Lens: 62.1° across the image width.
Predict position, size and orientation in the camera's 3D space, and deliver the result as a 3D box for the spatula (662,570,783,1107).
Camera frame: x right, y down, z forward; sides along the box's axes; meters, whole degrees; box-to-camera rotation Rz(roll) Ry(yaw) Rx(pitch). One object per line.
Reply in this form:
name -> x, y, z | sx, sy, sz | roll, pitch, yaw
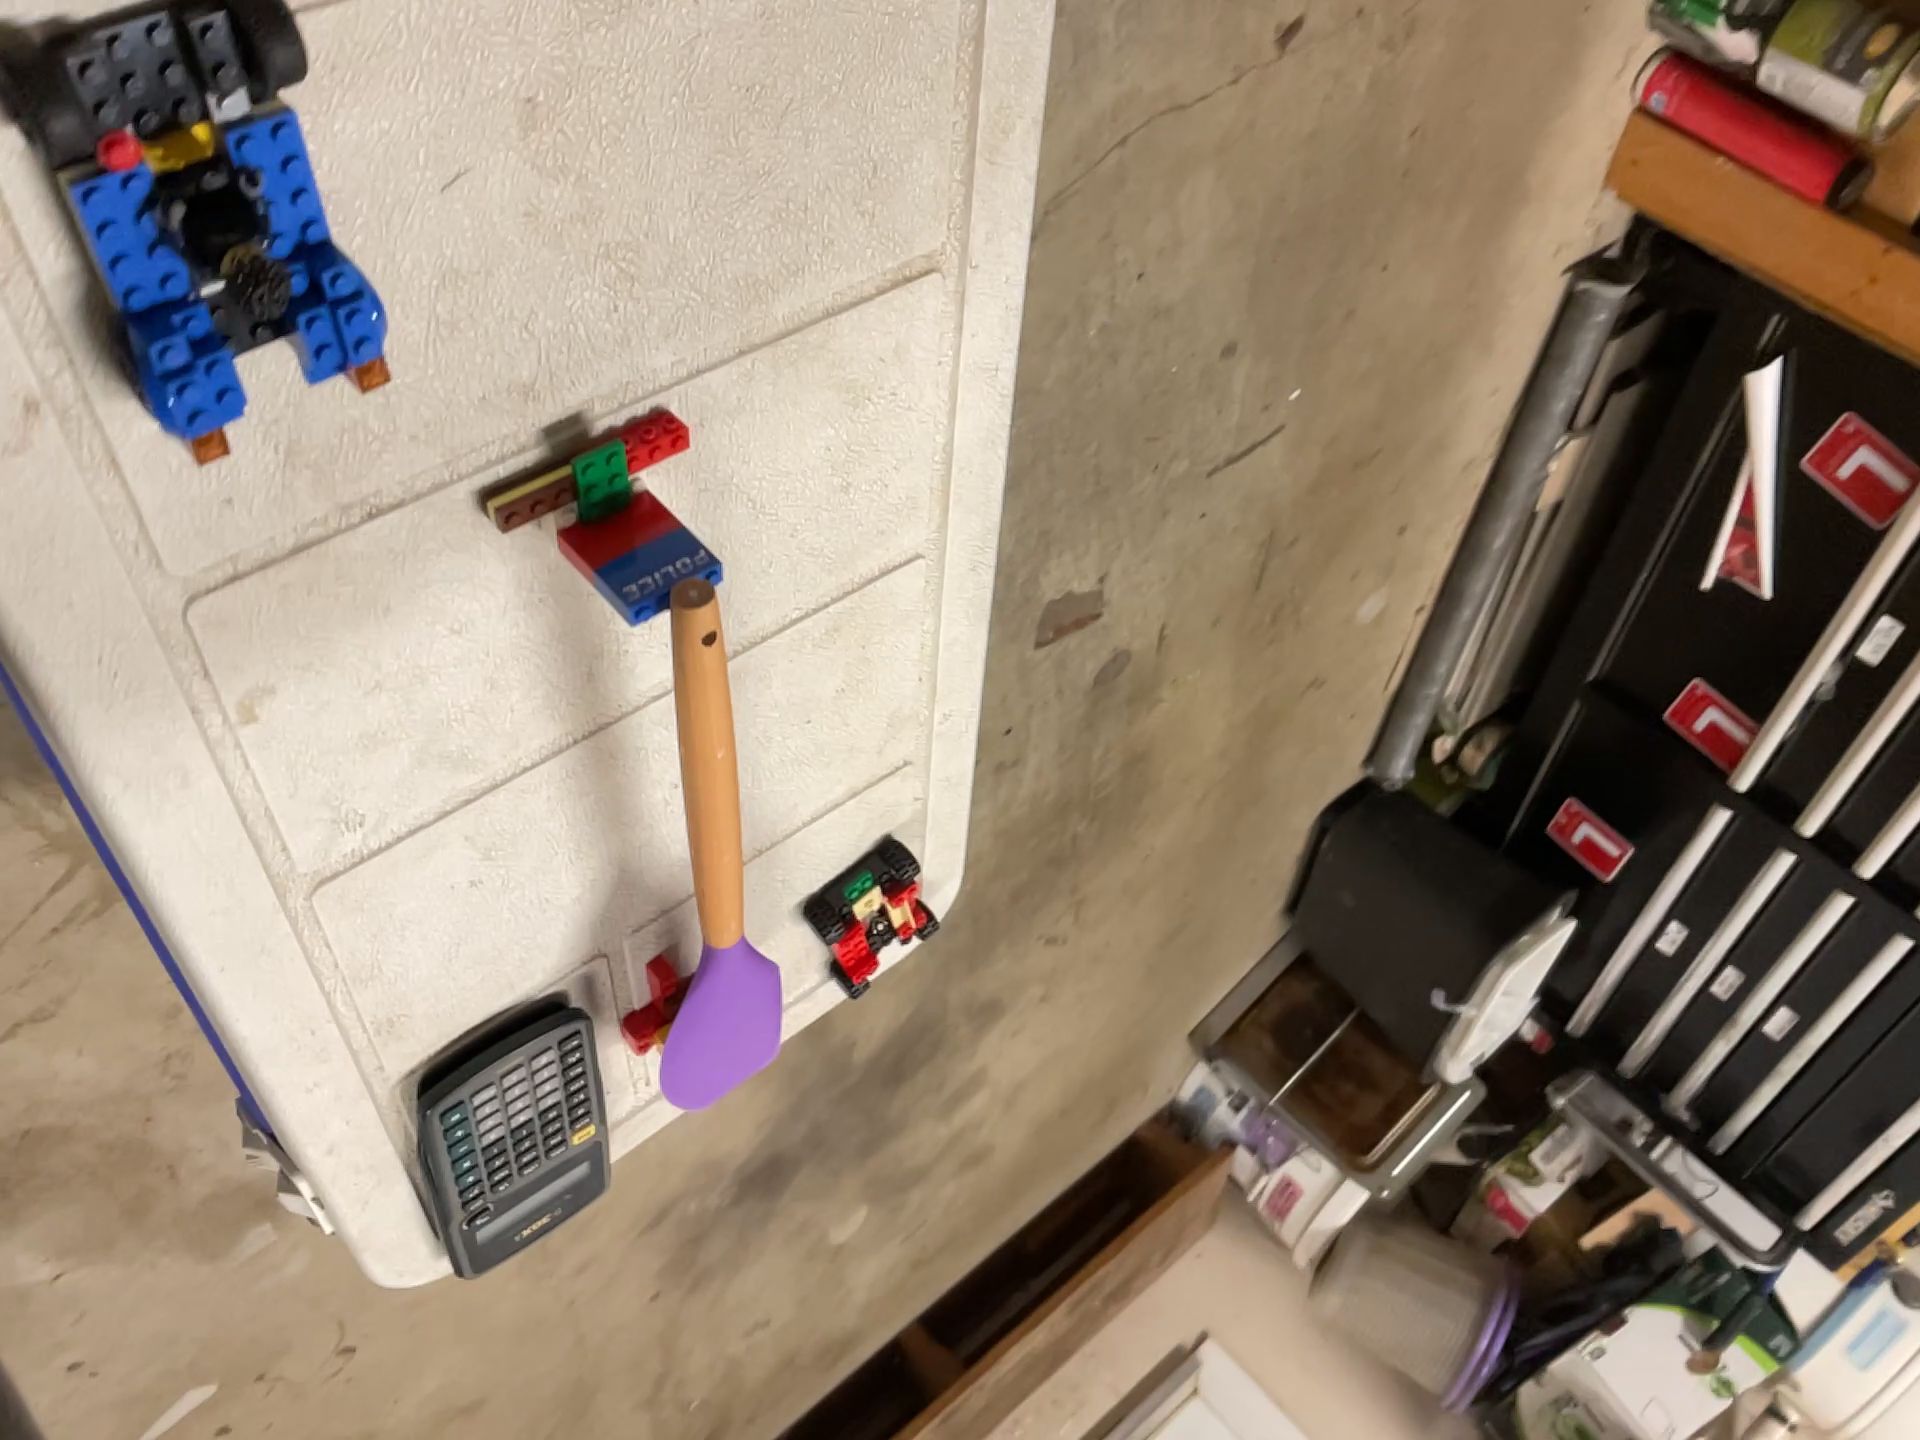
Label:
spatula -> -0.088, 0.061, 0.569 | 0.060, 0.018, 0.315 | -33, 151, -28
